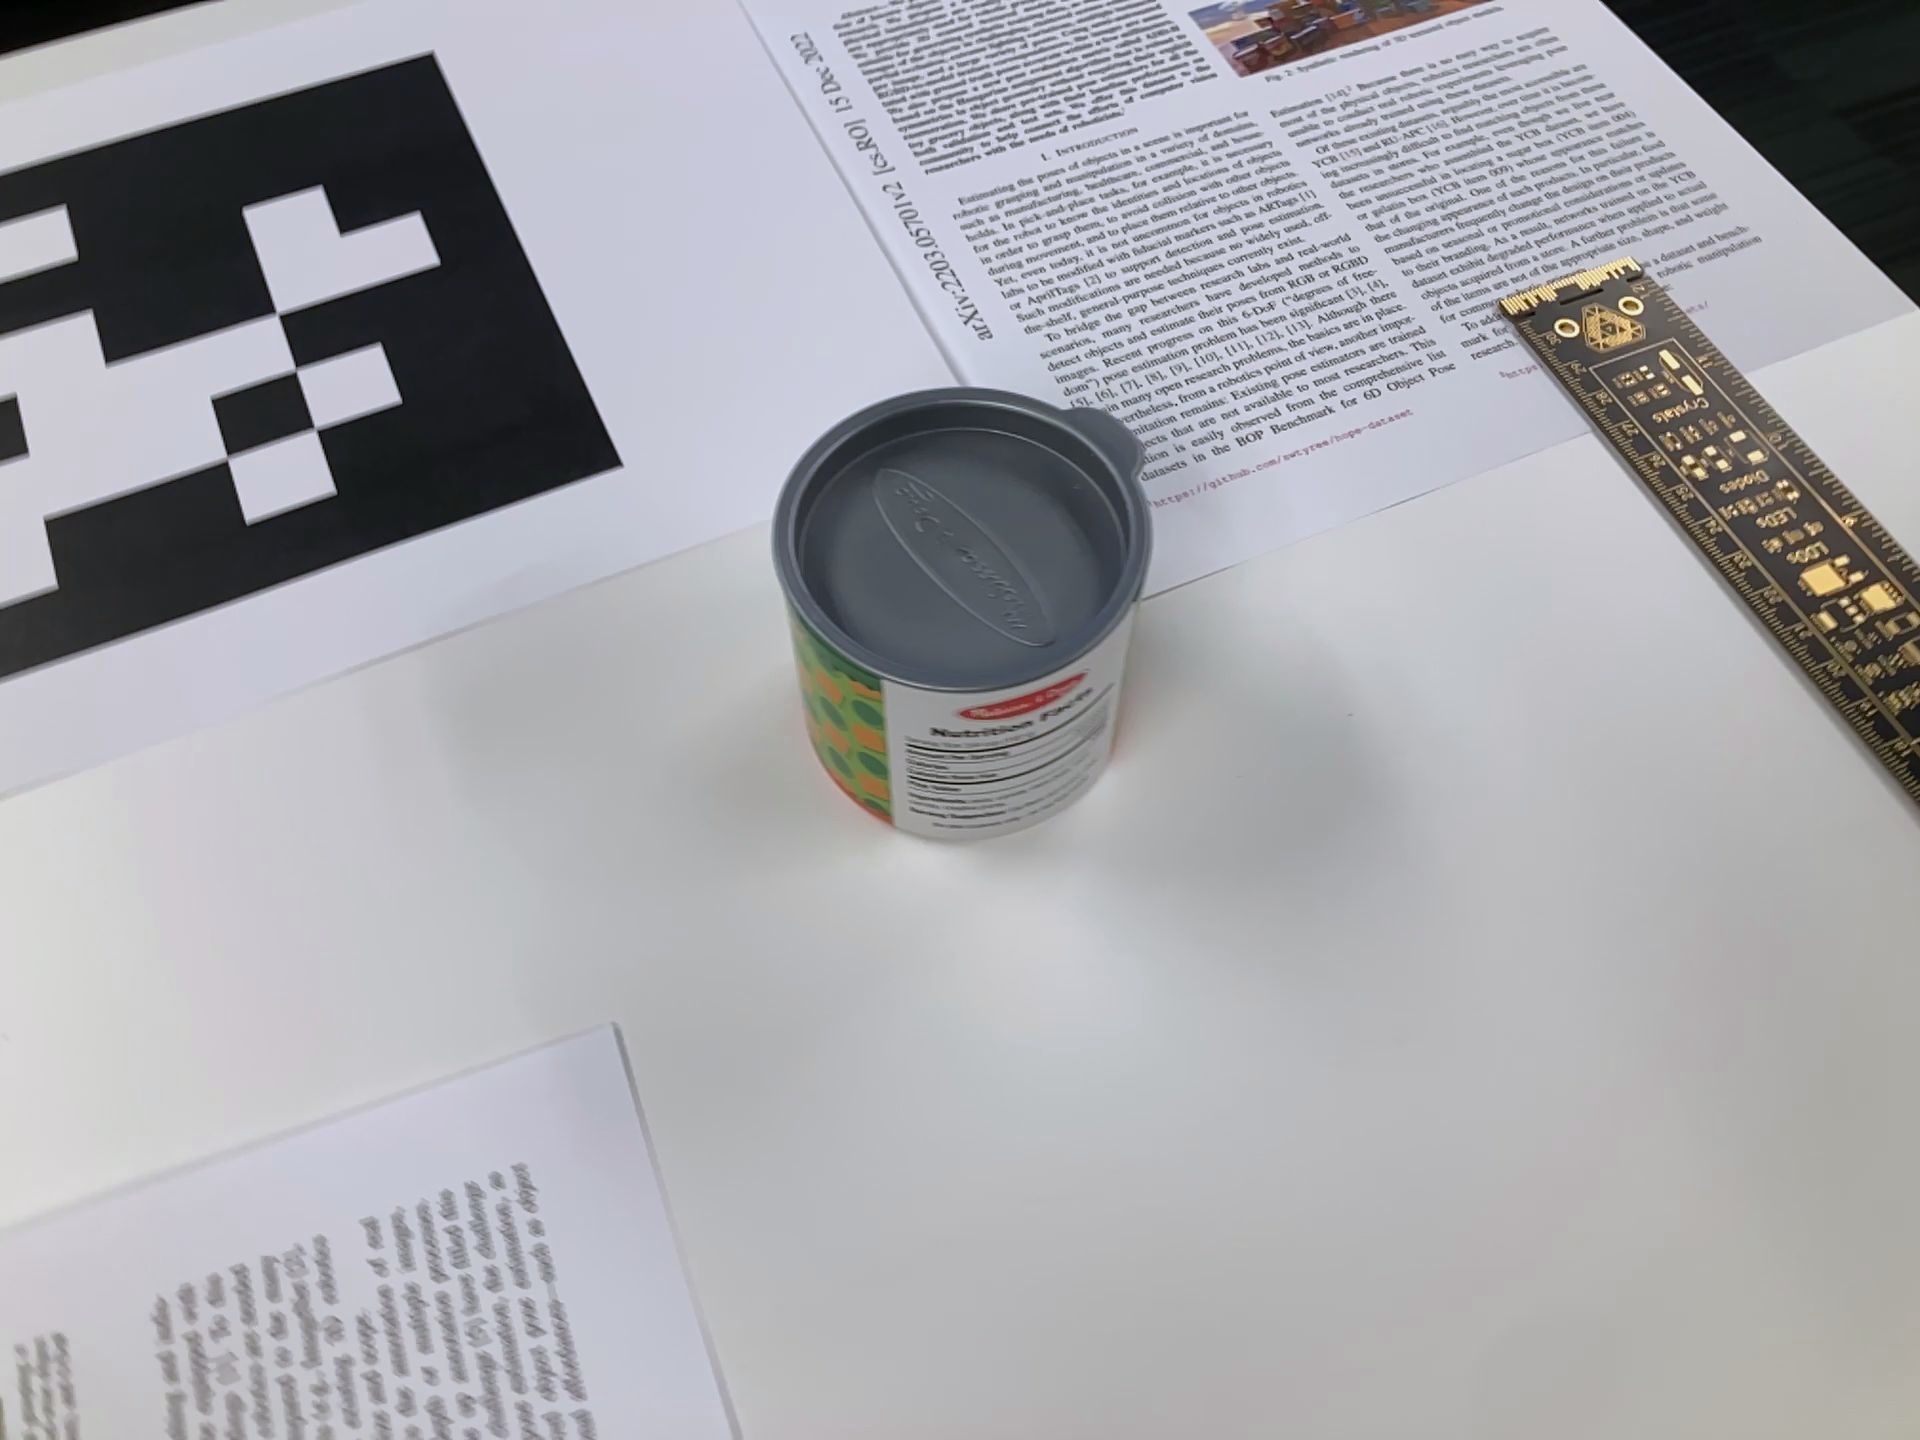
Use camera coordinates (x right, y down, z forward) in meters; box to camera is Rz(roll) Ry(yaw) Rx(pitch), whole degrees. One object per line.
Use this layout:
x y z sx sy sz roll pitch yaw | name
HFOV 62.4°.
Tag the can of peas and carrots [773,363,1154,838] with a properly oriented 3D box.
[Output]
0.000 -0.021 0.301 0.071 0.059 0.071 0 59 0 | can of peas and carrots
